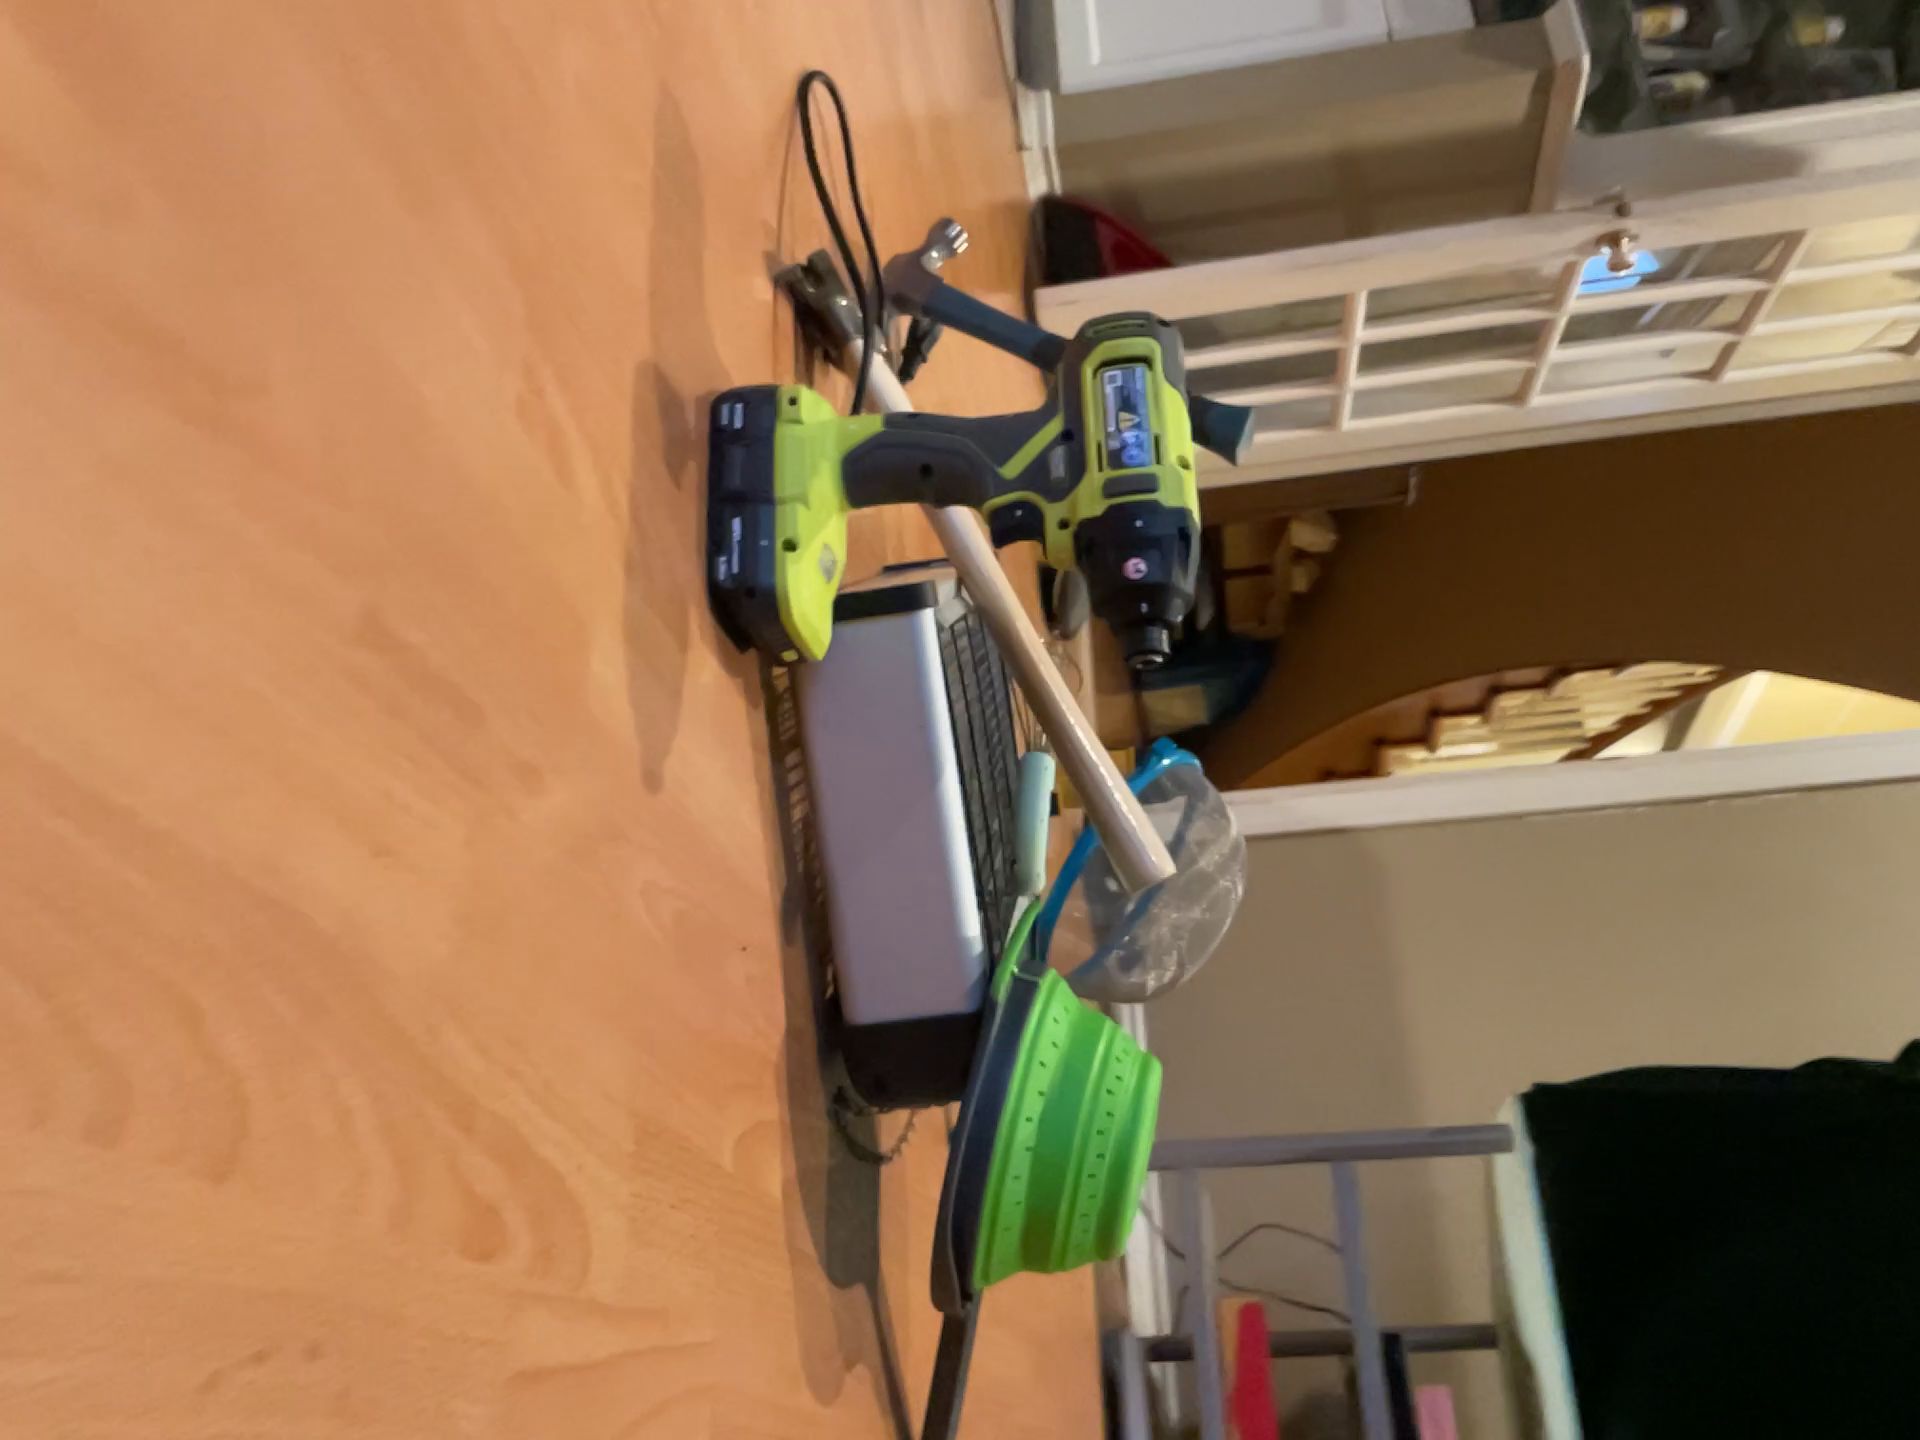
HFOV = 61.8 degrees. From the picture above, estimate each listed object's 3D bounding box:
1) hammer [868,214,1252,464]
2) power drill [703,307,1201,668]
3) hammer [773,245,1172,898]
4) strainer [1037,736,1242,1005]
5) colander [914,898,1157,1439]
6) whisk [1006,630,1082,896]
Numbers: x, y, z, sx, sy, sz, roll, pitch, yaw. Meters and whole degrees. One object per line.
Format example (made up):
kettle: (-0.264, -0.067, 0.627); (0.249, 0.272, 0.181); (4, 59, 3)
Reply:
hammer: (0.069, -0.265, 1.149); (0.128, 0.331, 0.033); (-49, 151, -19)
power drill: (-0.001, -0.097, 0.752); (0.080, 0.223, 0.171); (63, 23, -67)
hammer: (0.009, -0.085, 0.929); (0.410, 0.038, 0.146); (61, 4, 10)
strainer: (0.115, 0.188, 1.185); (0.340, 0.095, 0.211); (-59, 154, -4)
colander: (0.040, 0.301, 0.898); (0.205, 0.094, 0.396); (-53, 153, -68)
whisk: (0.052, 0.024, 1.095); (0.246, 0.059, 0.057); (-82, -166, -47)
